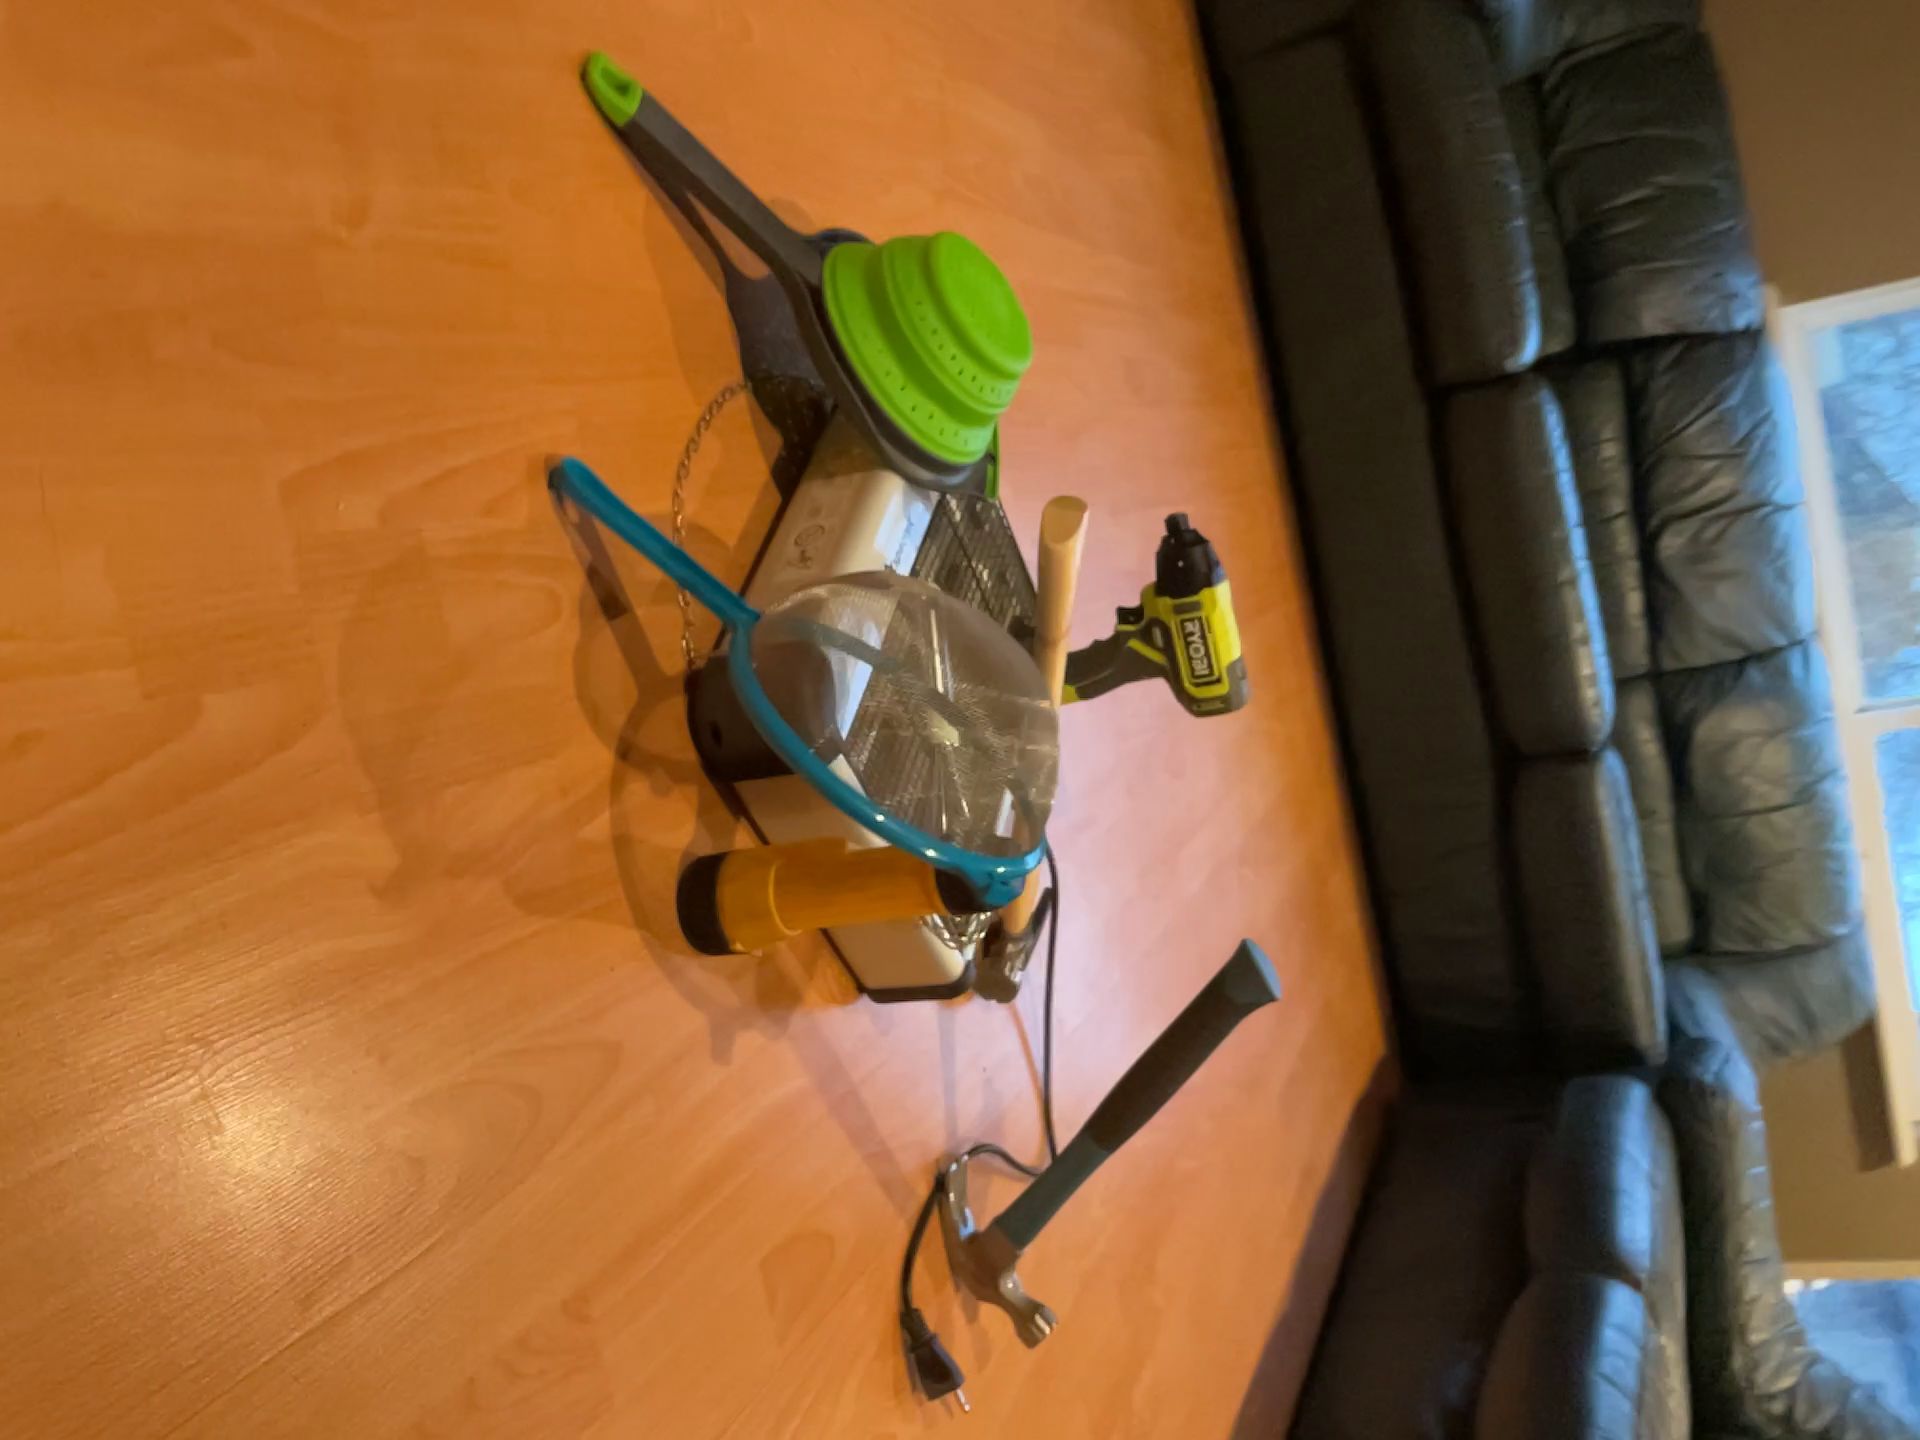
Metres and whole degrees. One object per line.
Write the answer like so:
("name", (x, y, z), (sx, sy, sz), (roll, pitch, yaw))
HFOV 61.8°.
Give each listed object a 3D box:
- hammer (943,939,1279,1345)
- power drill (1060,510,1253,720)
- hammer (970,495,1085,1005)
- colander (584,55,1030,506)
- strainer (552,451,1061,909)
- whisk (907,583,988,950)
("hammer", (0.107, 0.283, 1.120), (0.128, 0.330, 0.033), (43, 18, 15))
("power drill", (0.124, -0.076, 1.368), (0.080, 0.223, 0.171), (-35, 113, -65))
("hammer", (0.061, 0.019, 1.231), (0.146, 0.038, 0.410), (-58, 157, -56))
("colander", (-0.071, -0.307, 1.066), (0.397, 0.094, 0.205), (38, 38, -34))
("strainer", (-0.066, -0.057, 0.871), (0.340, 0.095, 0.211), (40, 19, -2))
("whisk", (-0.013, 0.026, 1.041), (0.058, 0.059, 0.246), (6, 70, -35))
